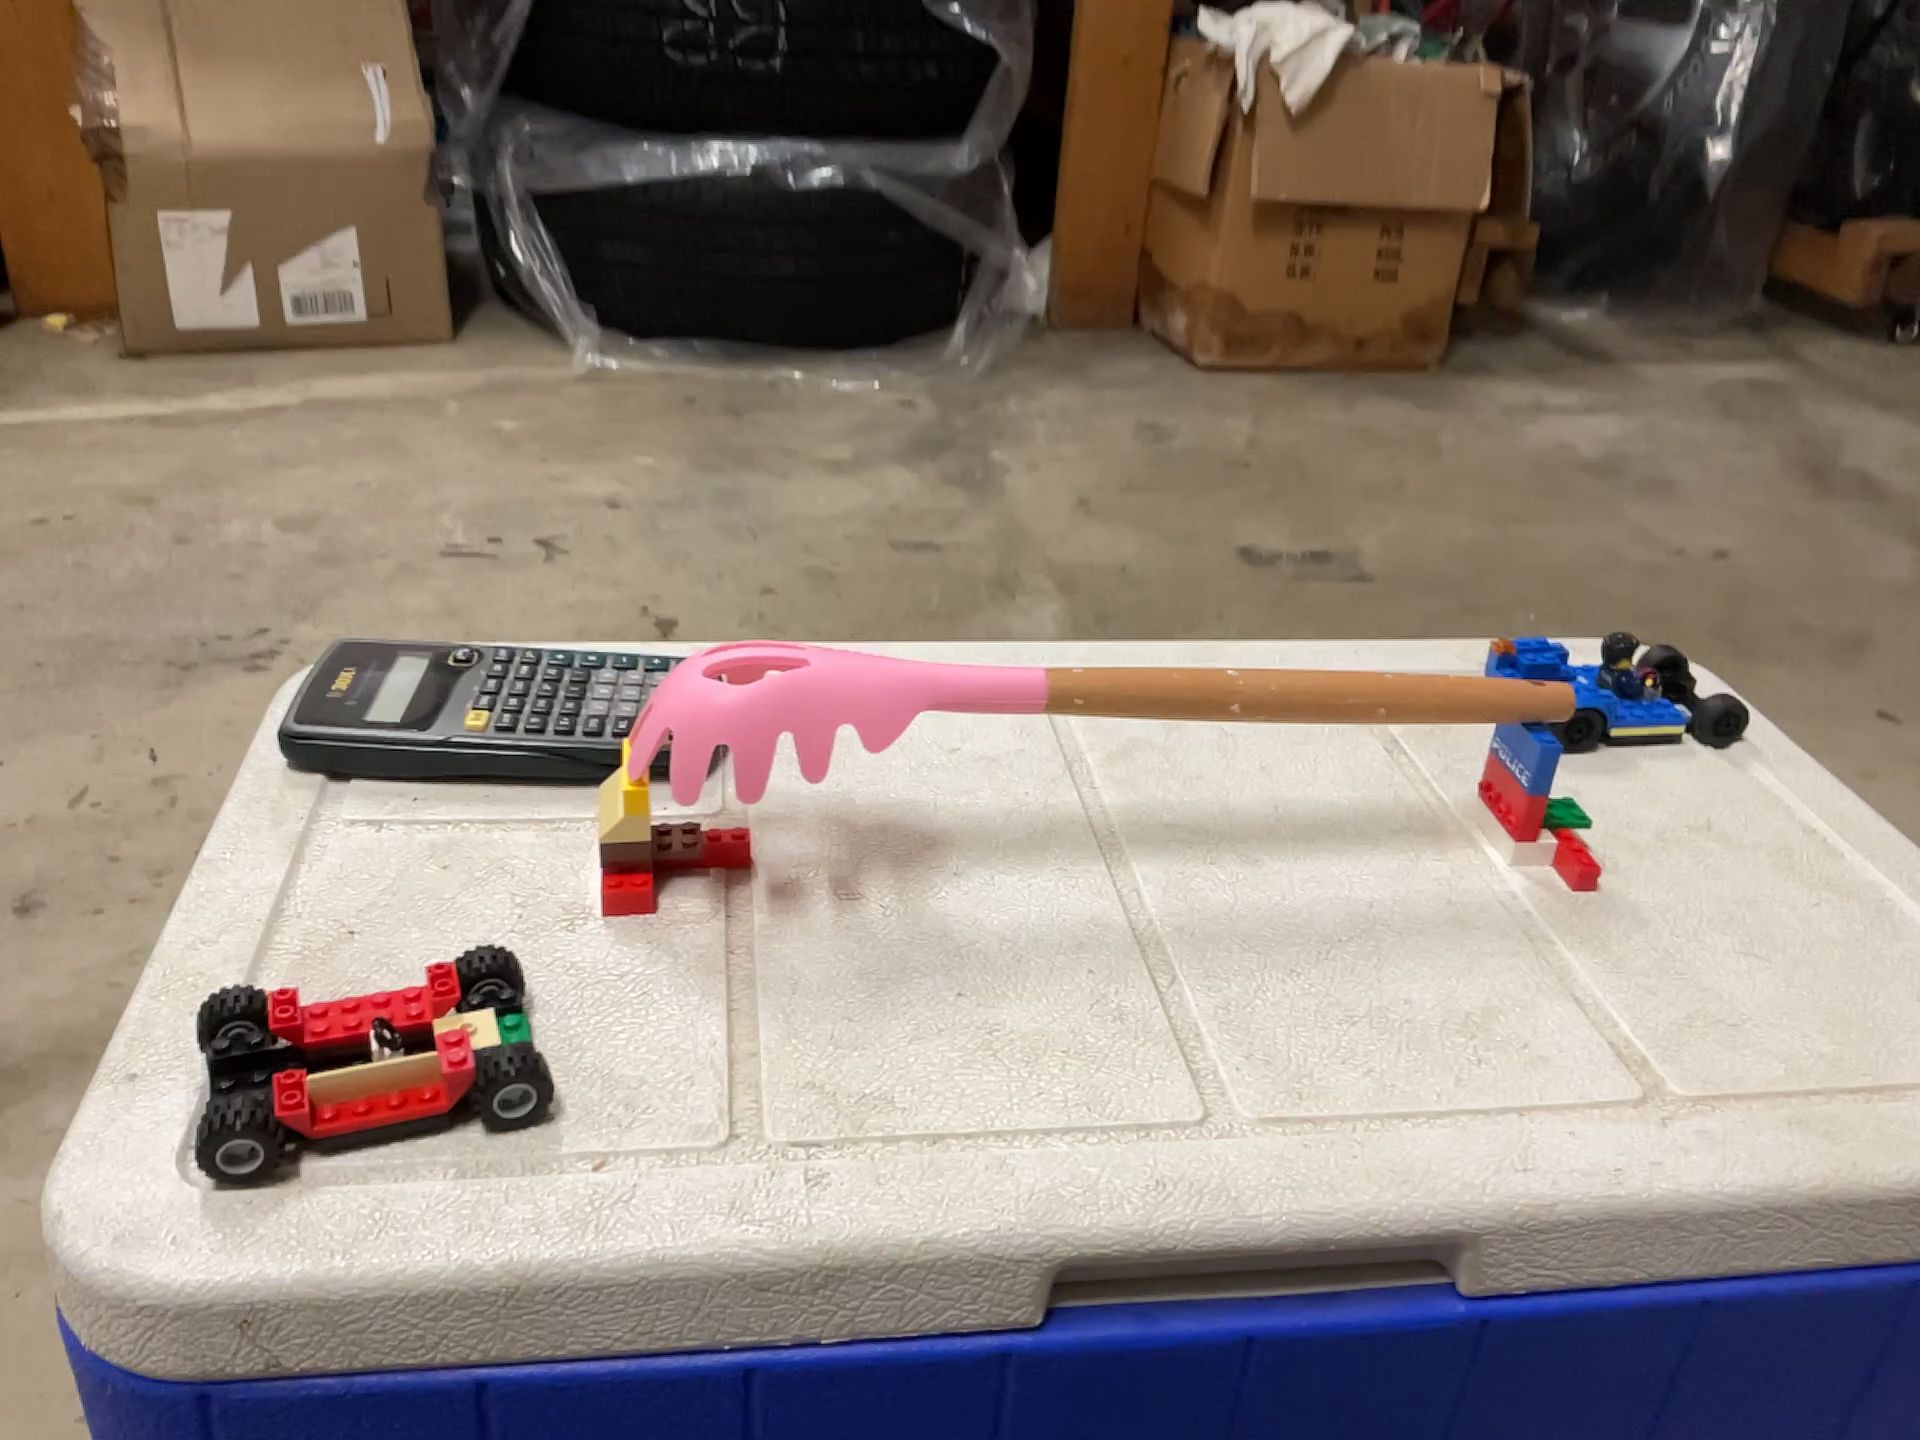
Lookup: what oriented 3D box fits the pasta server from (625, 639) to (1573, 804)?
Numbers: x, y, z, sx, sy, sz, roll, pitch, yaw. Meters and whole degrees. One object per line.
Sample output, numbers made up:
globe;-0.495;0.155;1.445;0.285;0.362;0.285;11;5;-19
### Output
pasta server;0.052;-0.002;0.522;0.316;0.040;0.060;1;27;-11
